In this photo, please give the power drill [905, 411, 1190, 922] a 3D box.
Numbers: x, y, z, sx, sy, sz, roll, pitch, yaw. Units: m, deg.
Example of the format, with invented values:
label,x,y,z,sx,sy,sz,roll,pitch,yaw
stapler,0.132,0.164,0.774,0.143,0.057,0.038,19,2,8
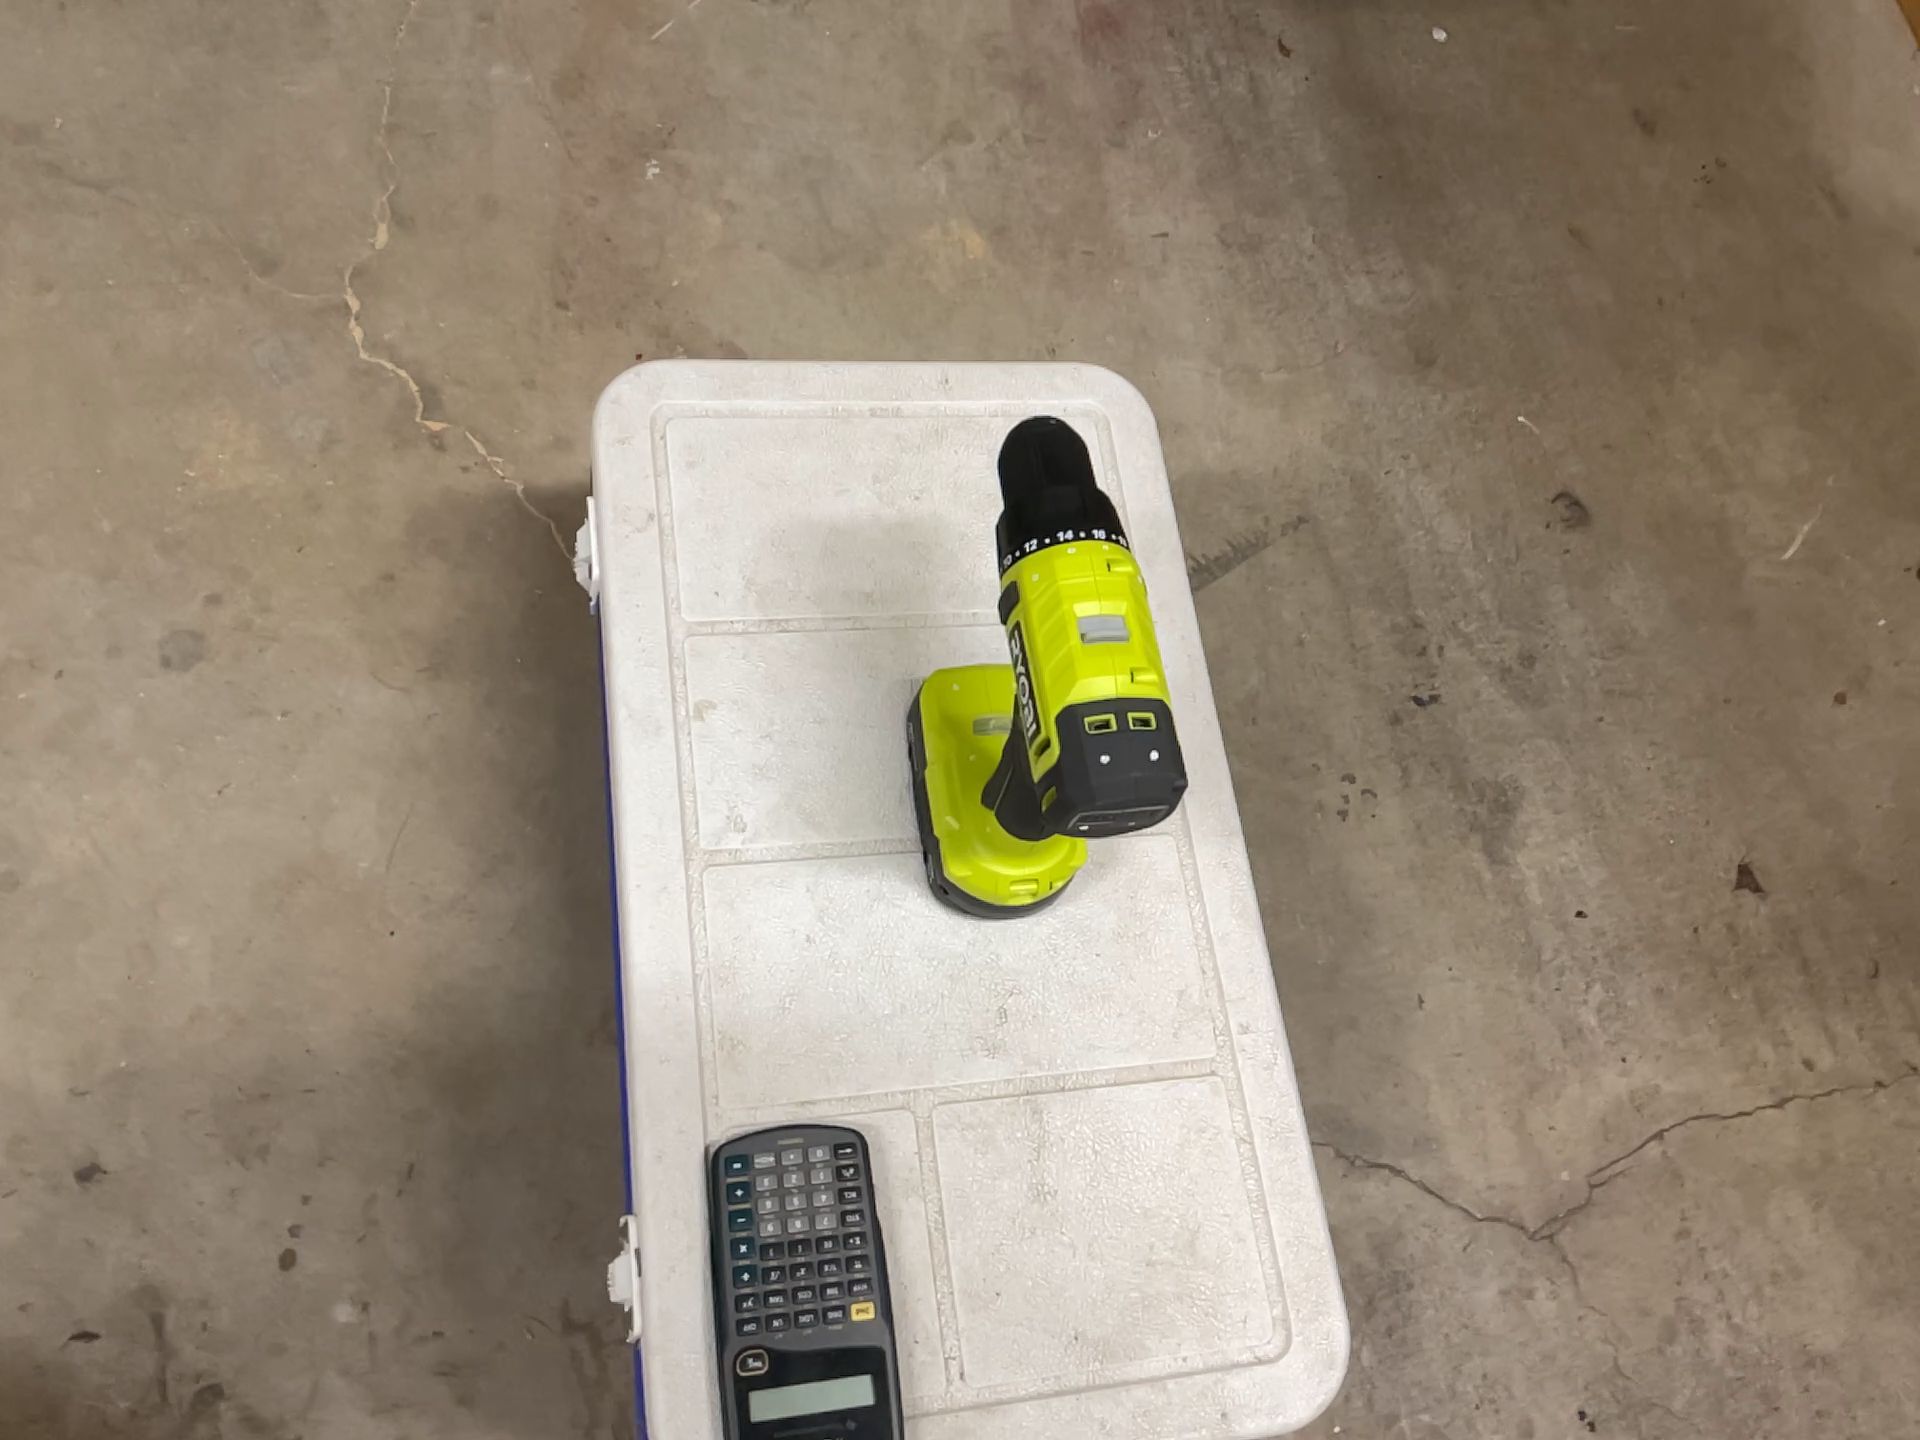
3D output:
label,x,y,z,sx,sy,sz,roll,pitch,yaw
power drill,0.033,-0.014,0.754,0.080,0.228,0.191,-4,67,-14
